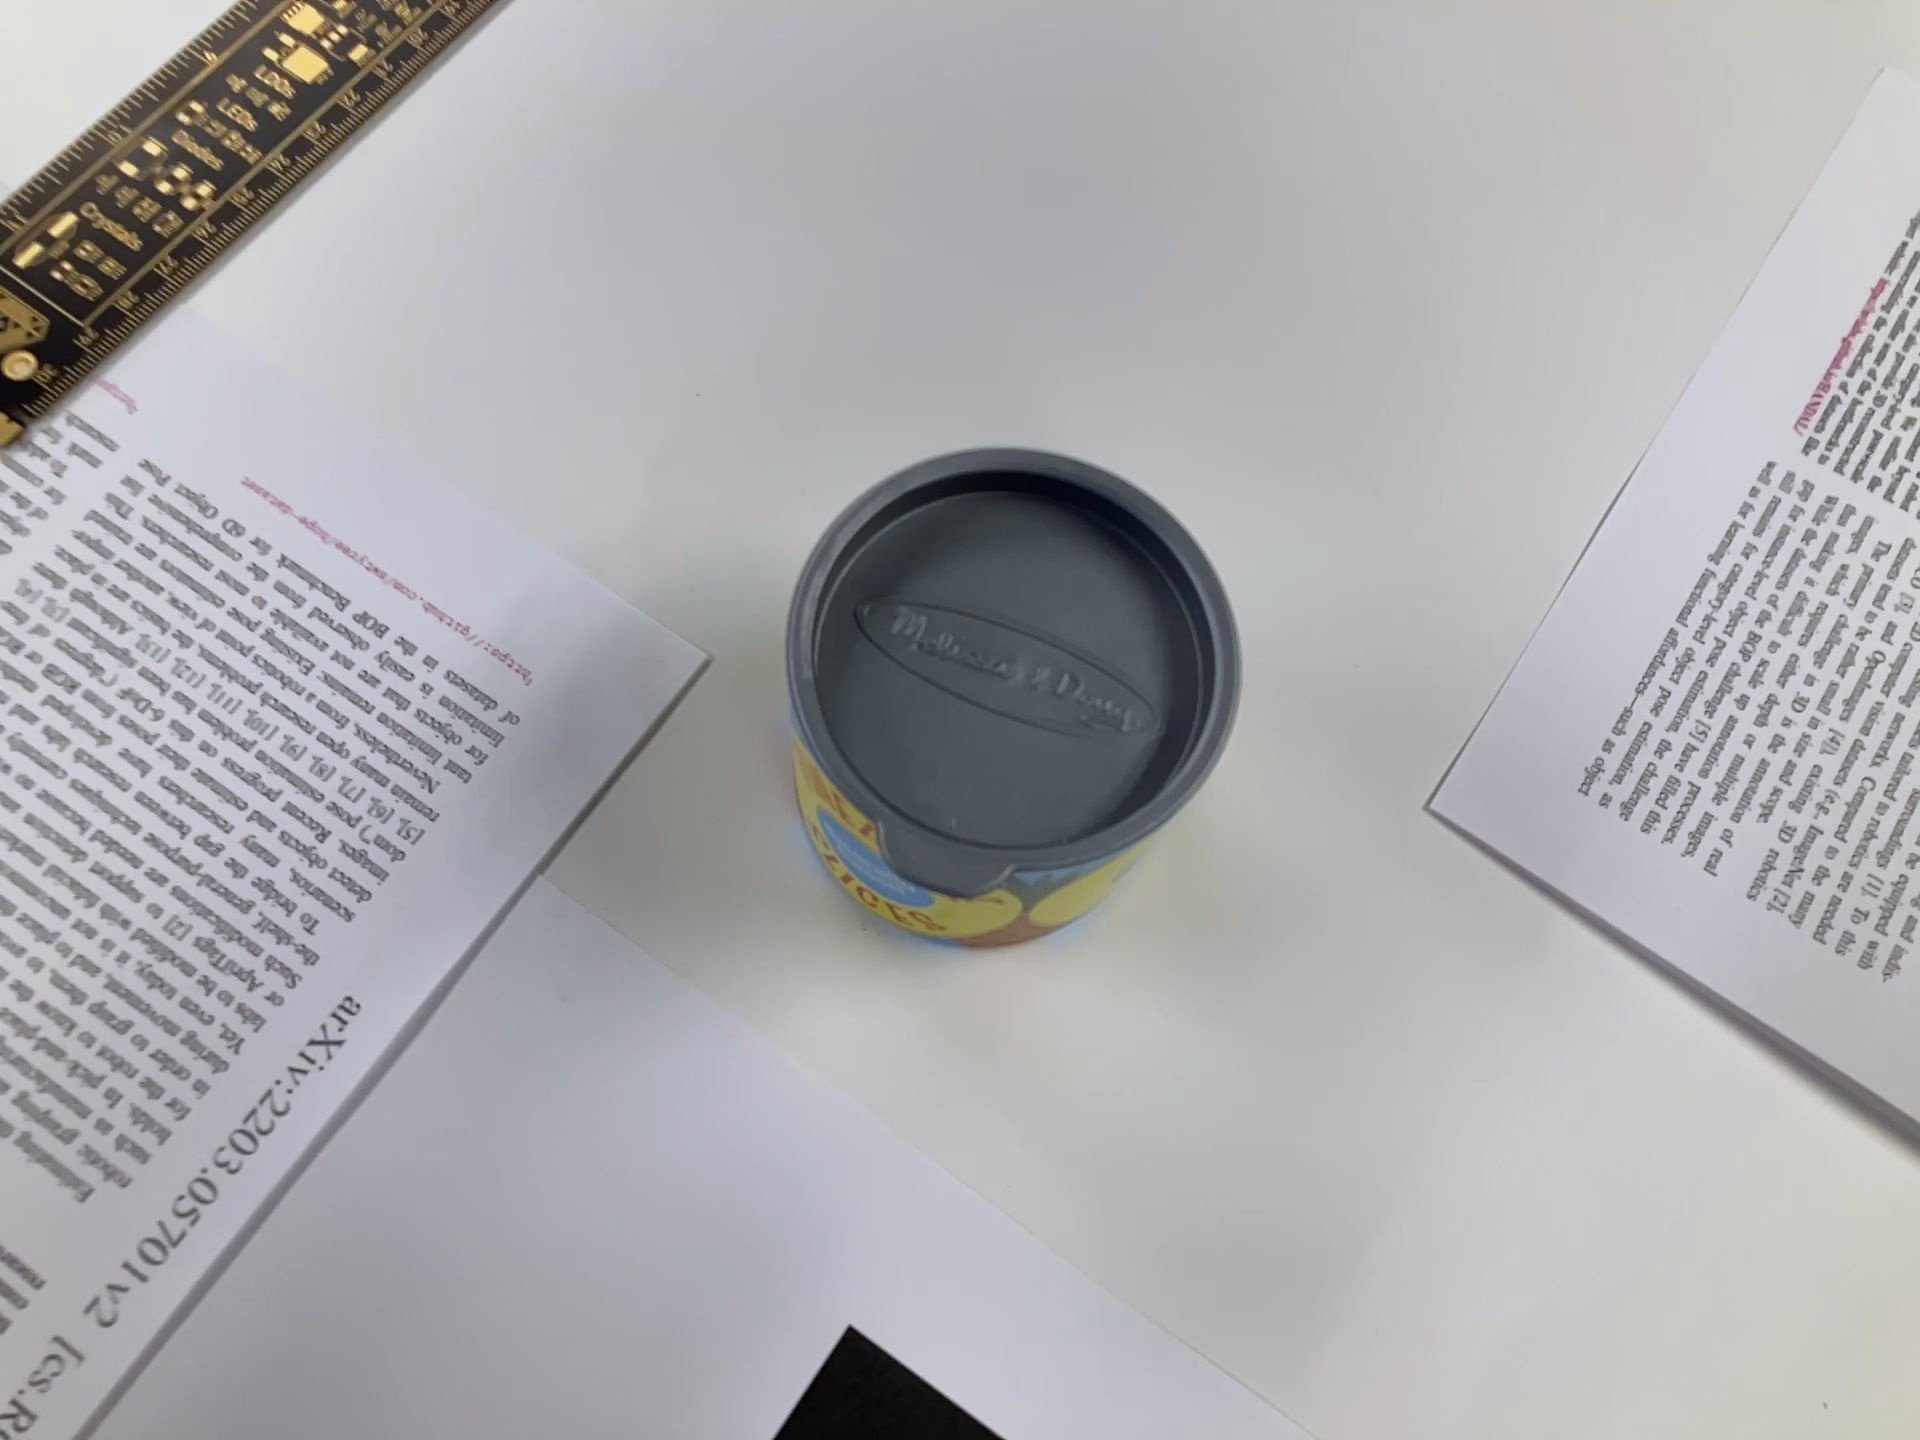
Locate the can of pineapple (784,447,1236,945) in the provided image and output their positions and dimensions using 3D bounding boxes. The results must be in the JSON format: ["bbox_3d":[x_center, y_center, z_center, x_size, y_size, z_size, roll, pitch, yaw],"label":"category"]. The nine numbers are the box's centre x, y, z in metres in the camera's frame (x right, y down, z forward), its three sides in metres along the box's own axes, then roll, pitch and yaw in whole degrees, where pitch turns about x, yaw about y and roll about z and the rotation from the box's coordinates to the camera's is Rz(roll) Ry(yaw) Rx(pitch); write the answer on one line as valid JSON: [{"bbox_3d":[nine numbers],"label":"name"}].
[{"bbox_3d":[0.004,0.000,0.256,0.071,0.058,0.071,1,70,-4],"label":"can of pineapple"}]
